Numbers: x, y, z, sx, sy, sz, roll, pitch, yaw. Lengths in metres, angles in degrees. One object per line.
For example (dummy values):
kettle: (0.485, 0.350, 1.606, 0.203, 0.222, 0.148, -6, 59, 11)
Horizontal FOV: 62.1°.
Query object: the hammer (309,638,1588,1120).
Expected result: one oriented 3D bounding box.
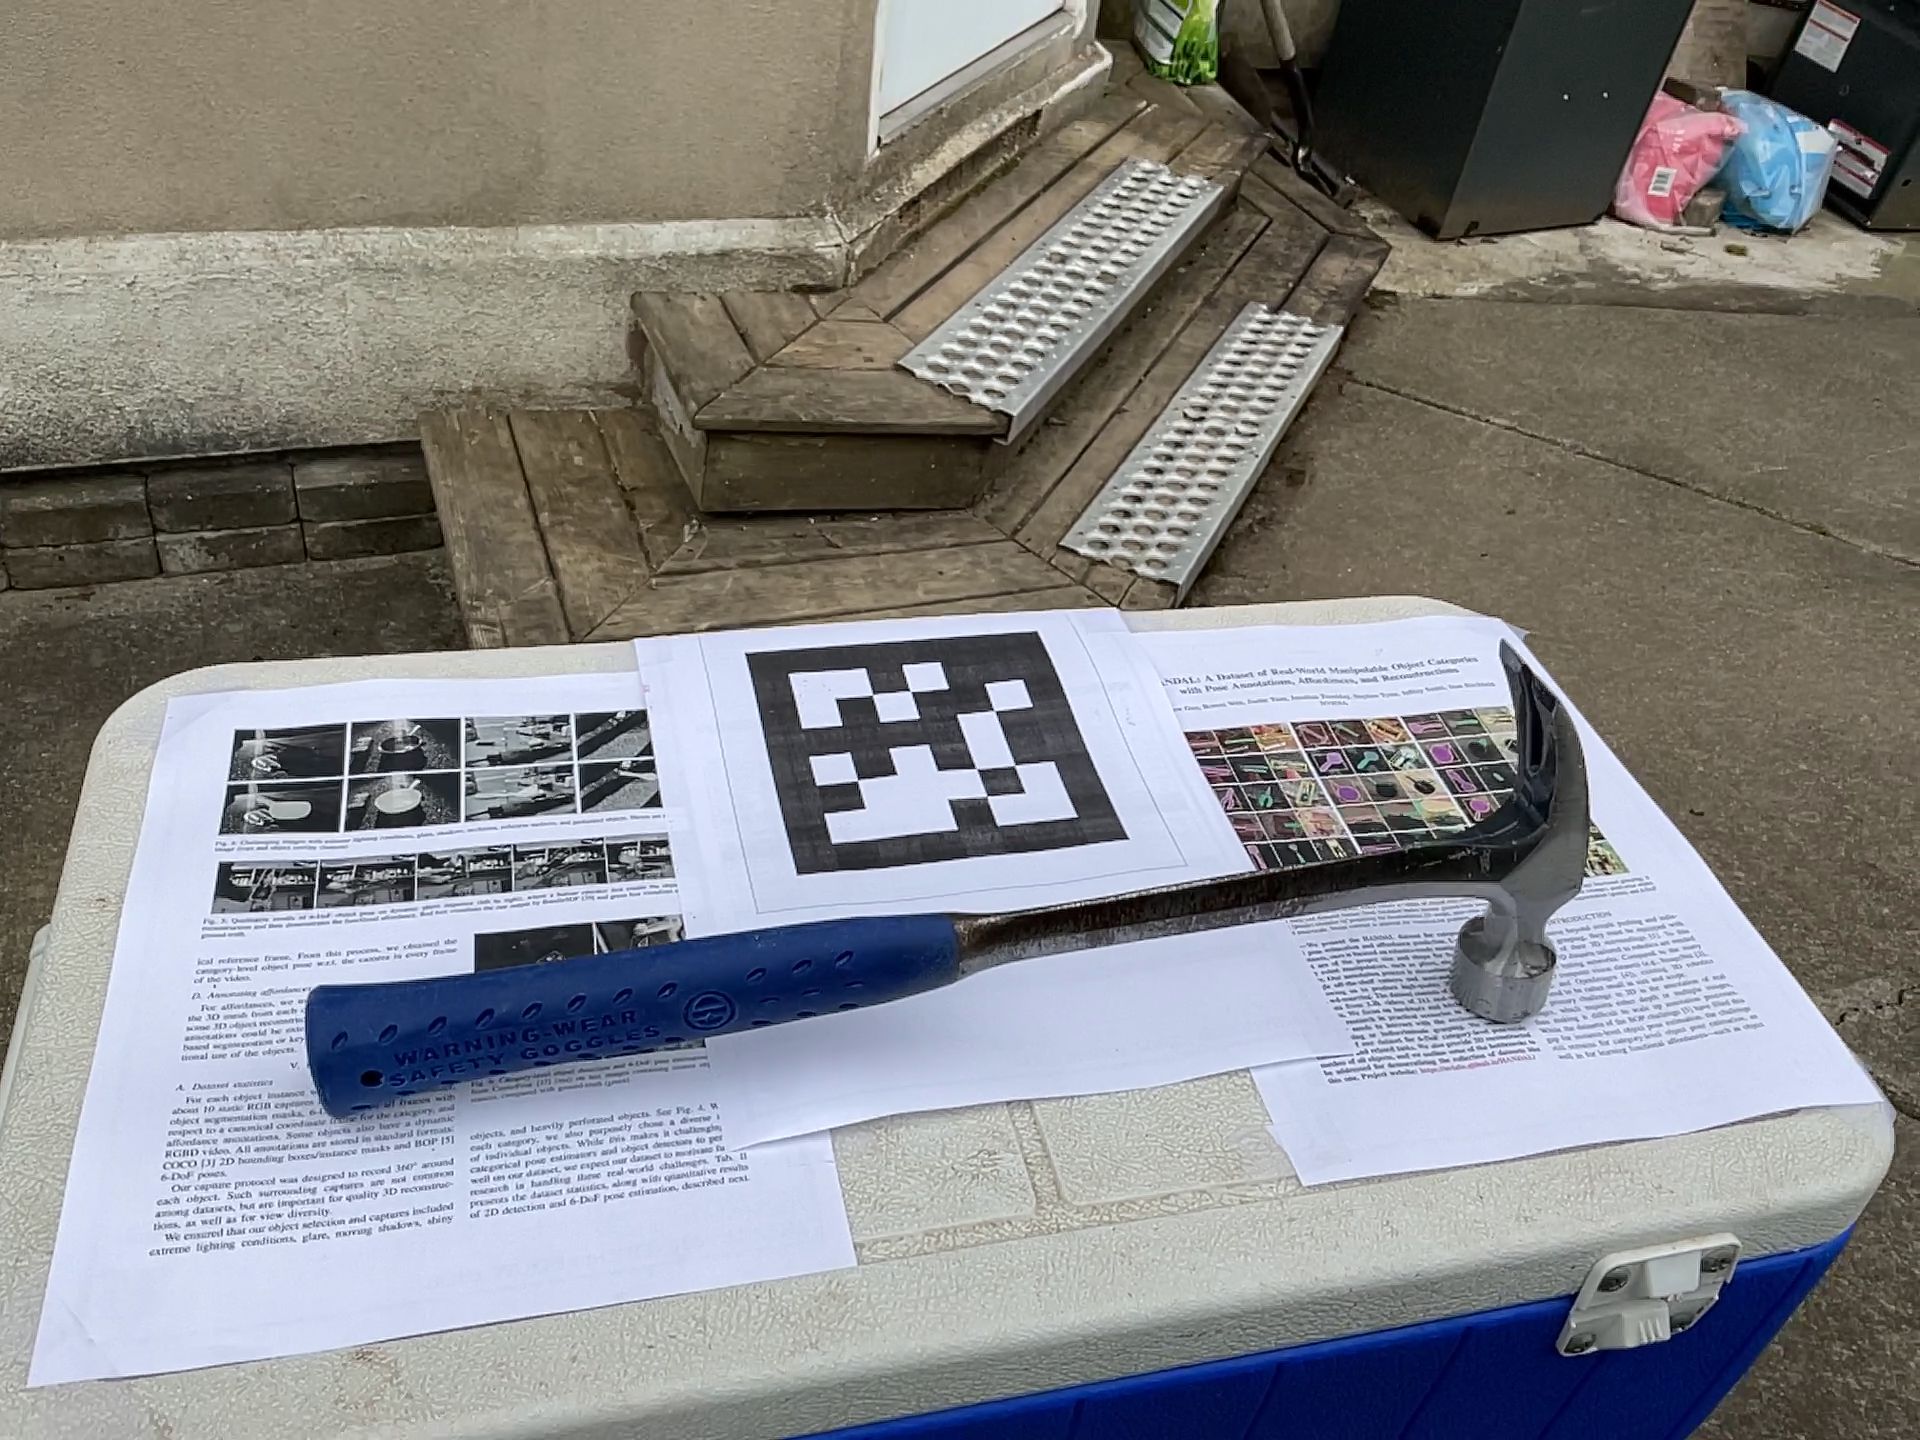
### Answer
hammer: (0.008, 0.066, 0.504, 0.405, 0.144, 0.035, -8, 36, -9)
